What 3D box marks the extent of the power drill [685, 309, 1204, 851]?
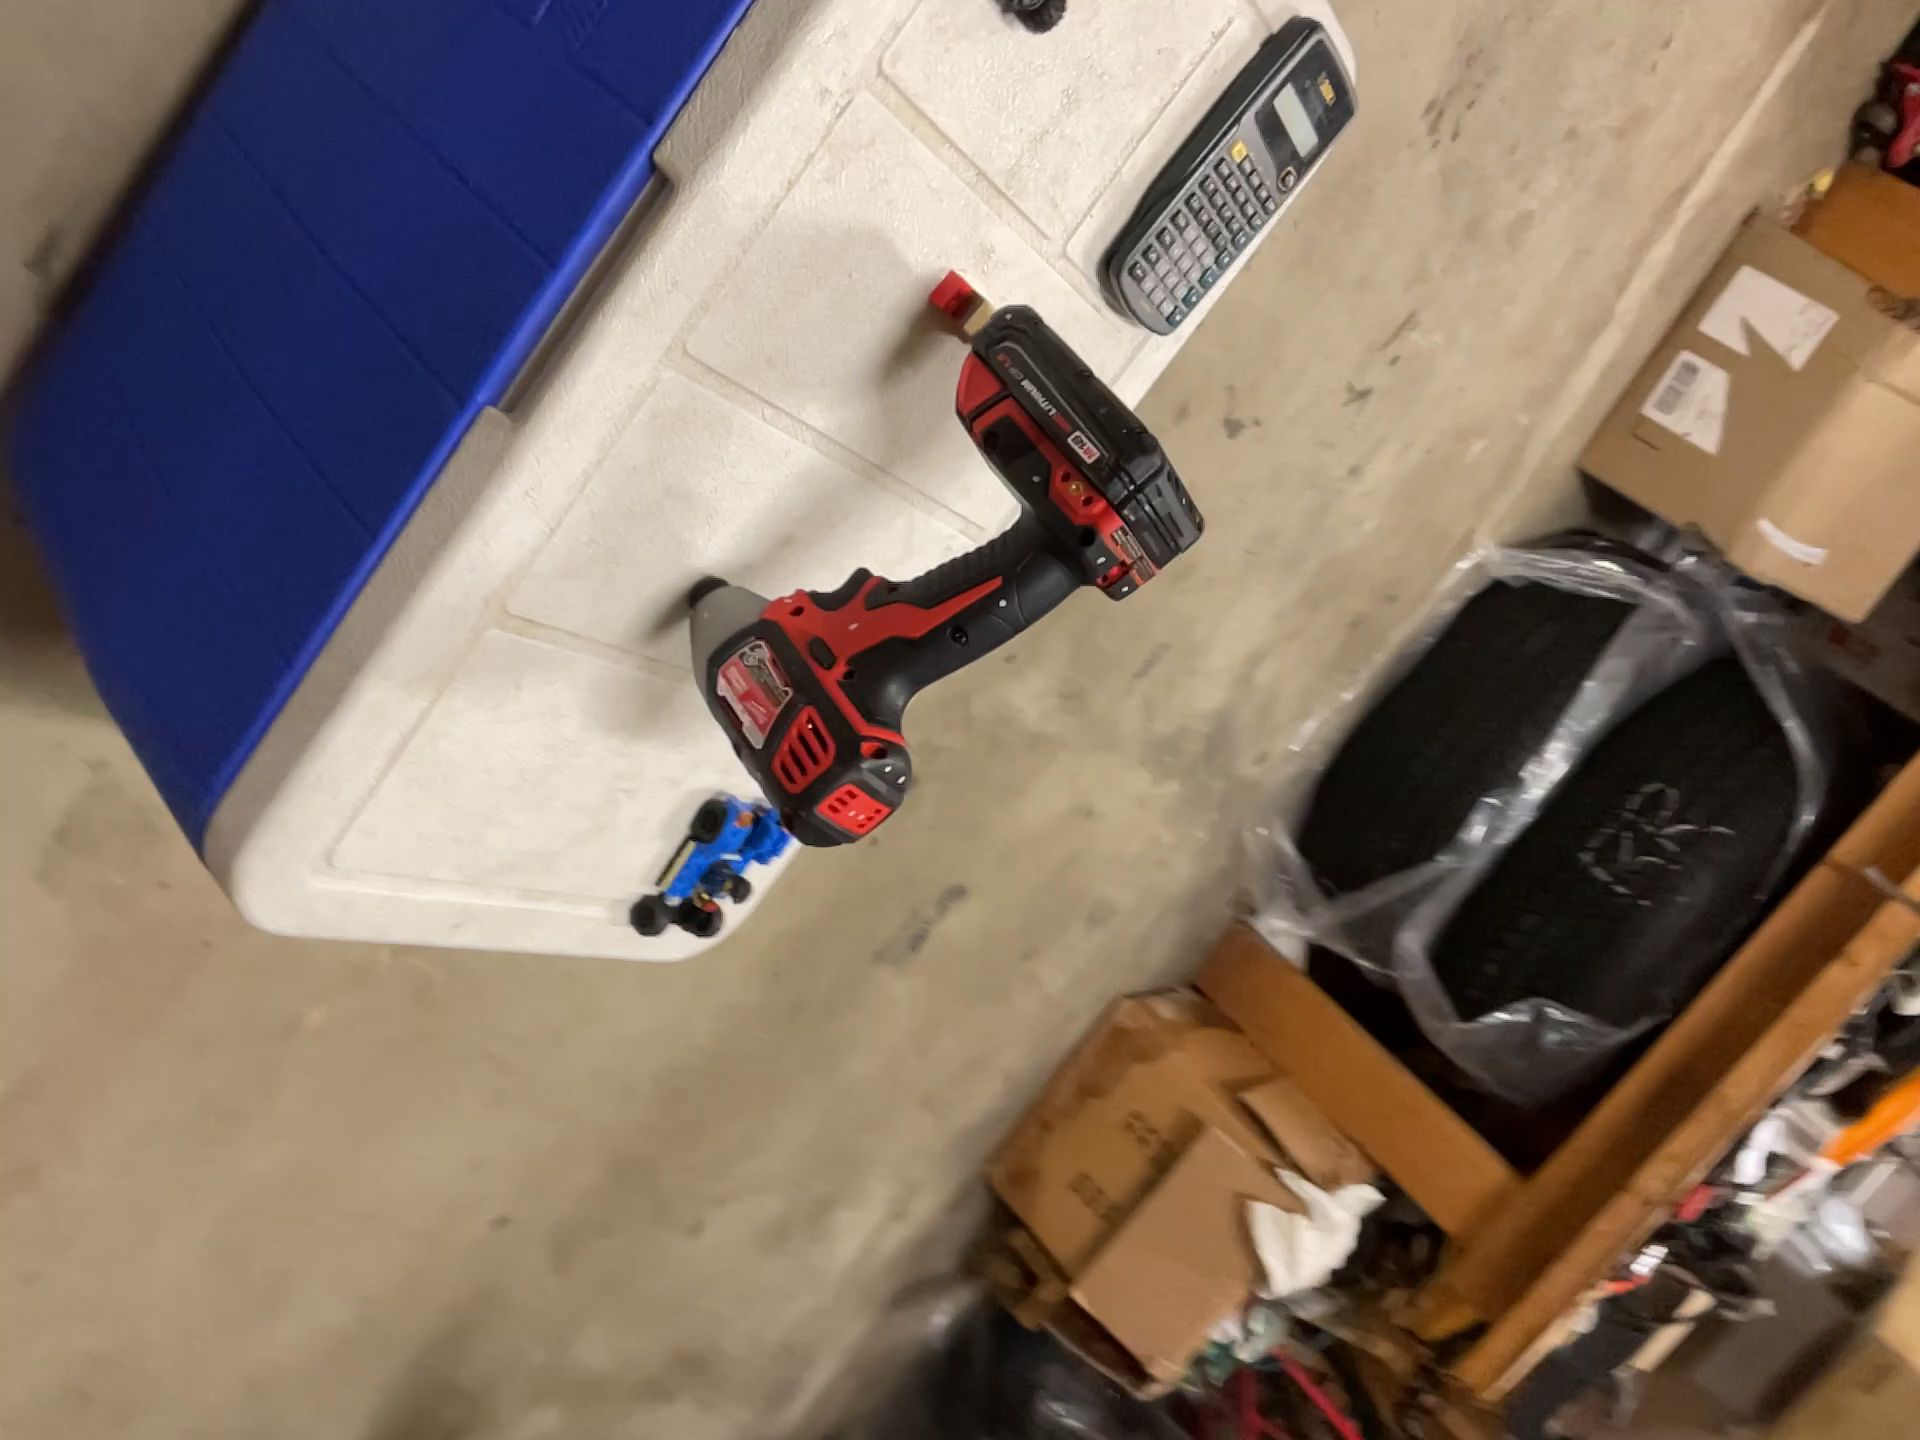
[{"bbox_3d":[-0.019,-0.062,0.685,0.219,0.143,0.078,-41,150,5],"label":"power drill"}]
